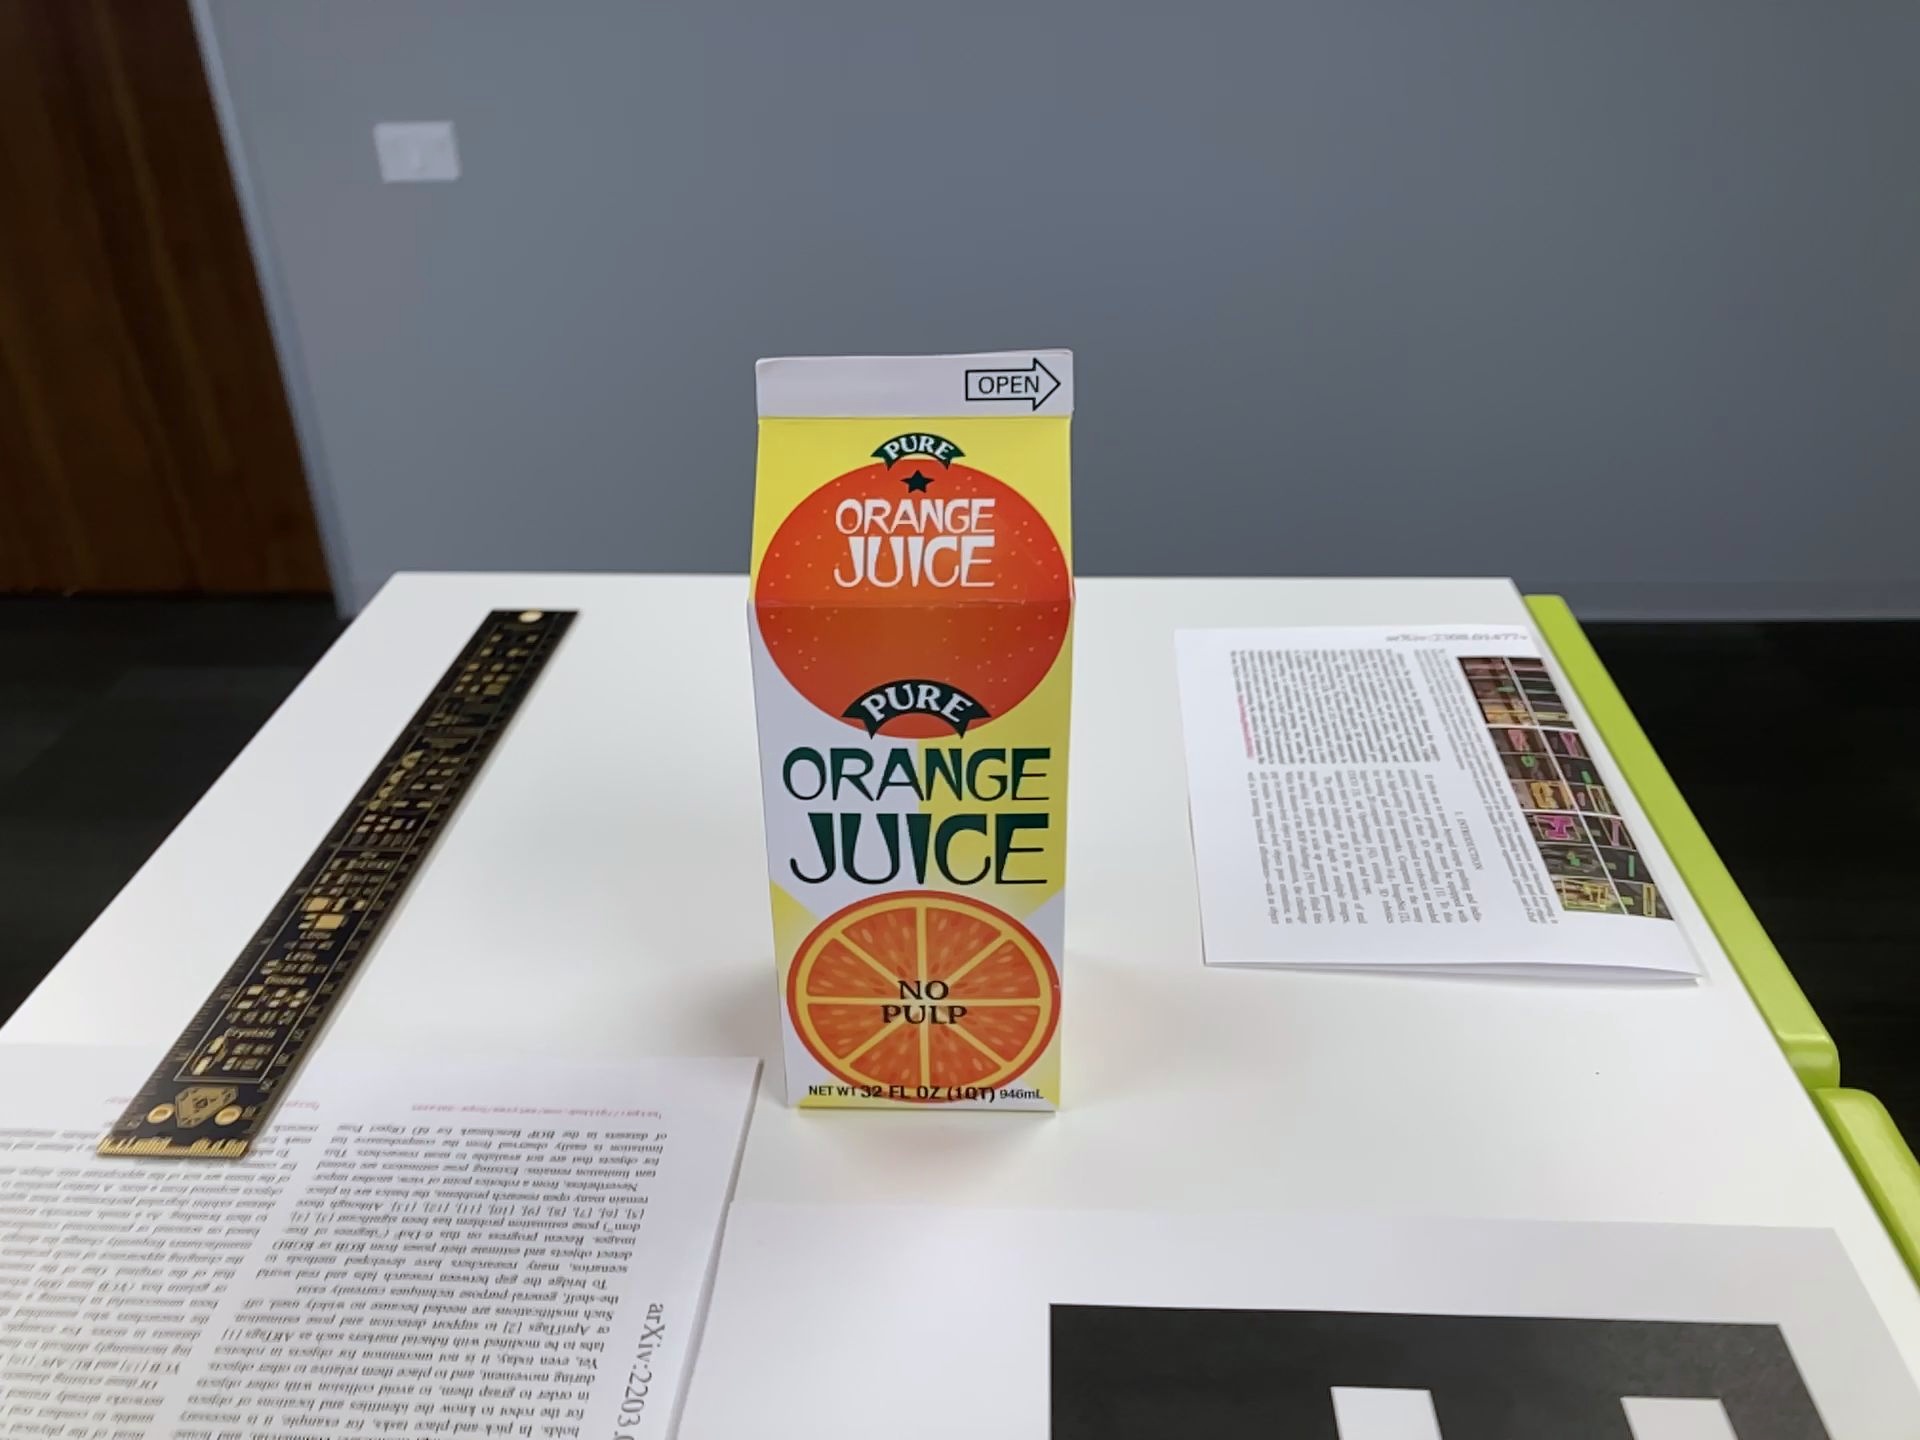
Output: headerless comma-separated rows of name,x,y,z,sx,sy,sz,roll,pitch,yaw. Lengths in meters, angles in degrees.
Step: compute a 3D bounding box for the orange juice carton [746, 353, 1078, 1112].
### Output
orange juice carton,-0.009,0.003,0.395,0.072,0.192,0.073,1,31,2
